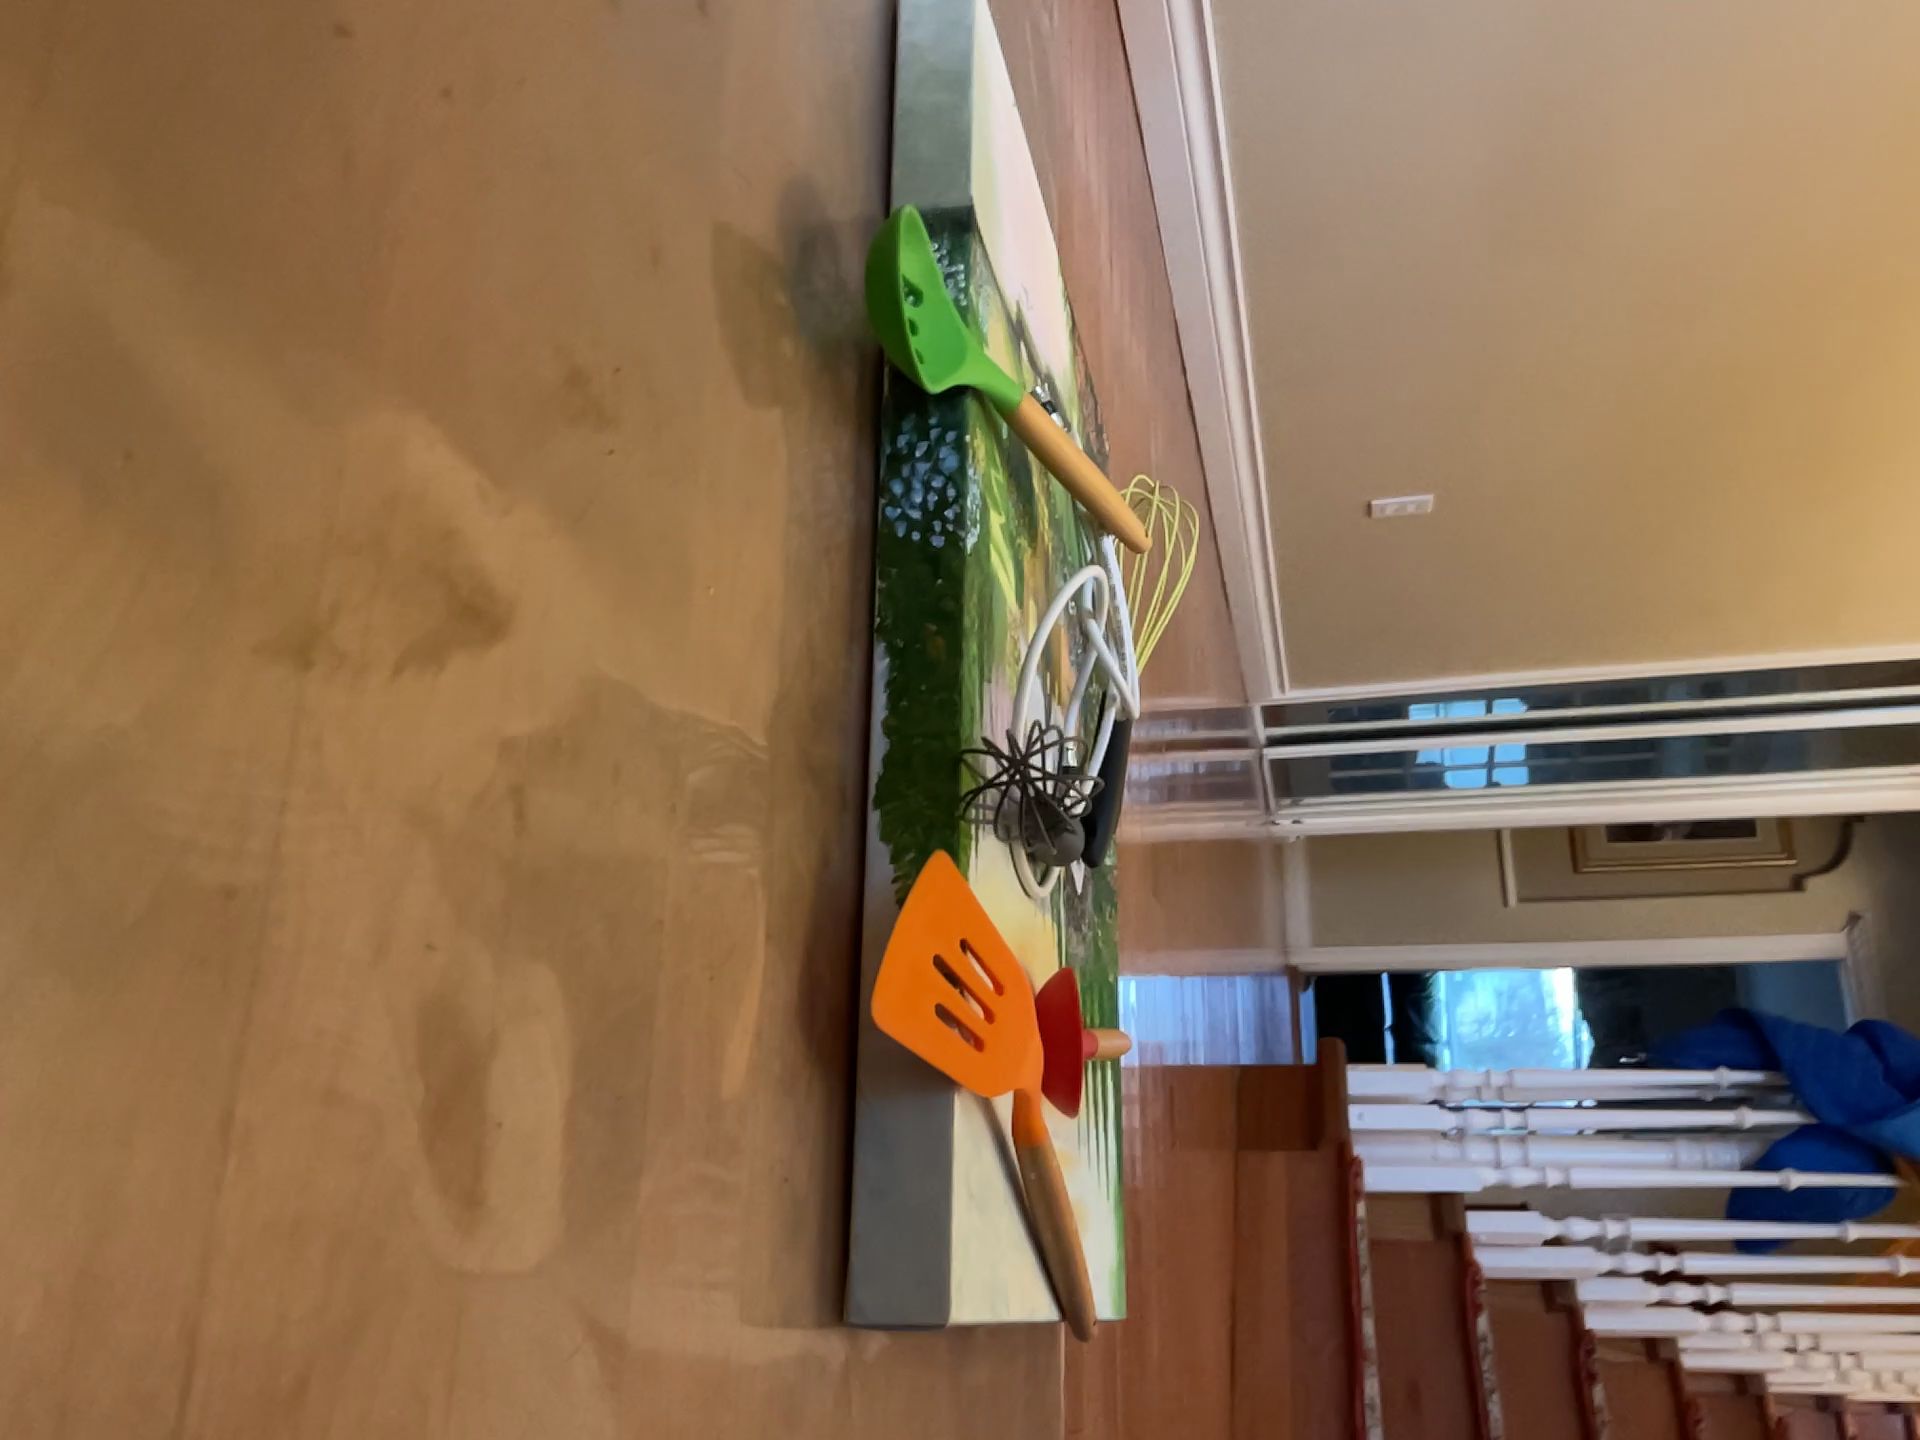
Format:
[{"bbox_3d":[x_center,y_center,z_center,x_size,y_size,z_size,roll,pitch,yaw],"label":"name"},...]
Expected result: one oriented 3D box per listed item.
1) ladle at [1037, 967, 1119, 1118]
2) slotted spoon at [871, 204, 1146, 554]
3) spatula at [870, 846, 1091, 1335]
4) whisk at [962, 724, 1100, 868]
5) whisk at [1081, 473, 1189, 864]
[{"bbox_3d":[0.071,0.174,0.859,0.315,0.031,0.069,47,42,-75],"label":"ladle"},{"bbox_3d":[0.032,-0.138,0.745,0.313,0.031,0.070,33,53,-60],"label":"slotted spoon"},{"bbox_3d":[0.023,0.186,0.681,0.322,0.041,0.081,76,27,-44],"label":"spatula"},{"bbox_3d":[0.039,0.042,0.710,0.238,0.055,0.055,58,40,-77],"label":"whisk"},{"bbox_3d":[0.104,-0.041,1.023,0.079,0.067,0.312,63,31,-48],"label":"whisk"}]
